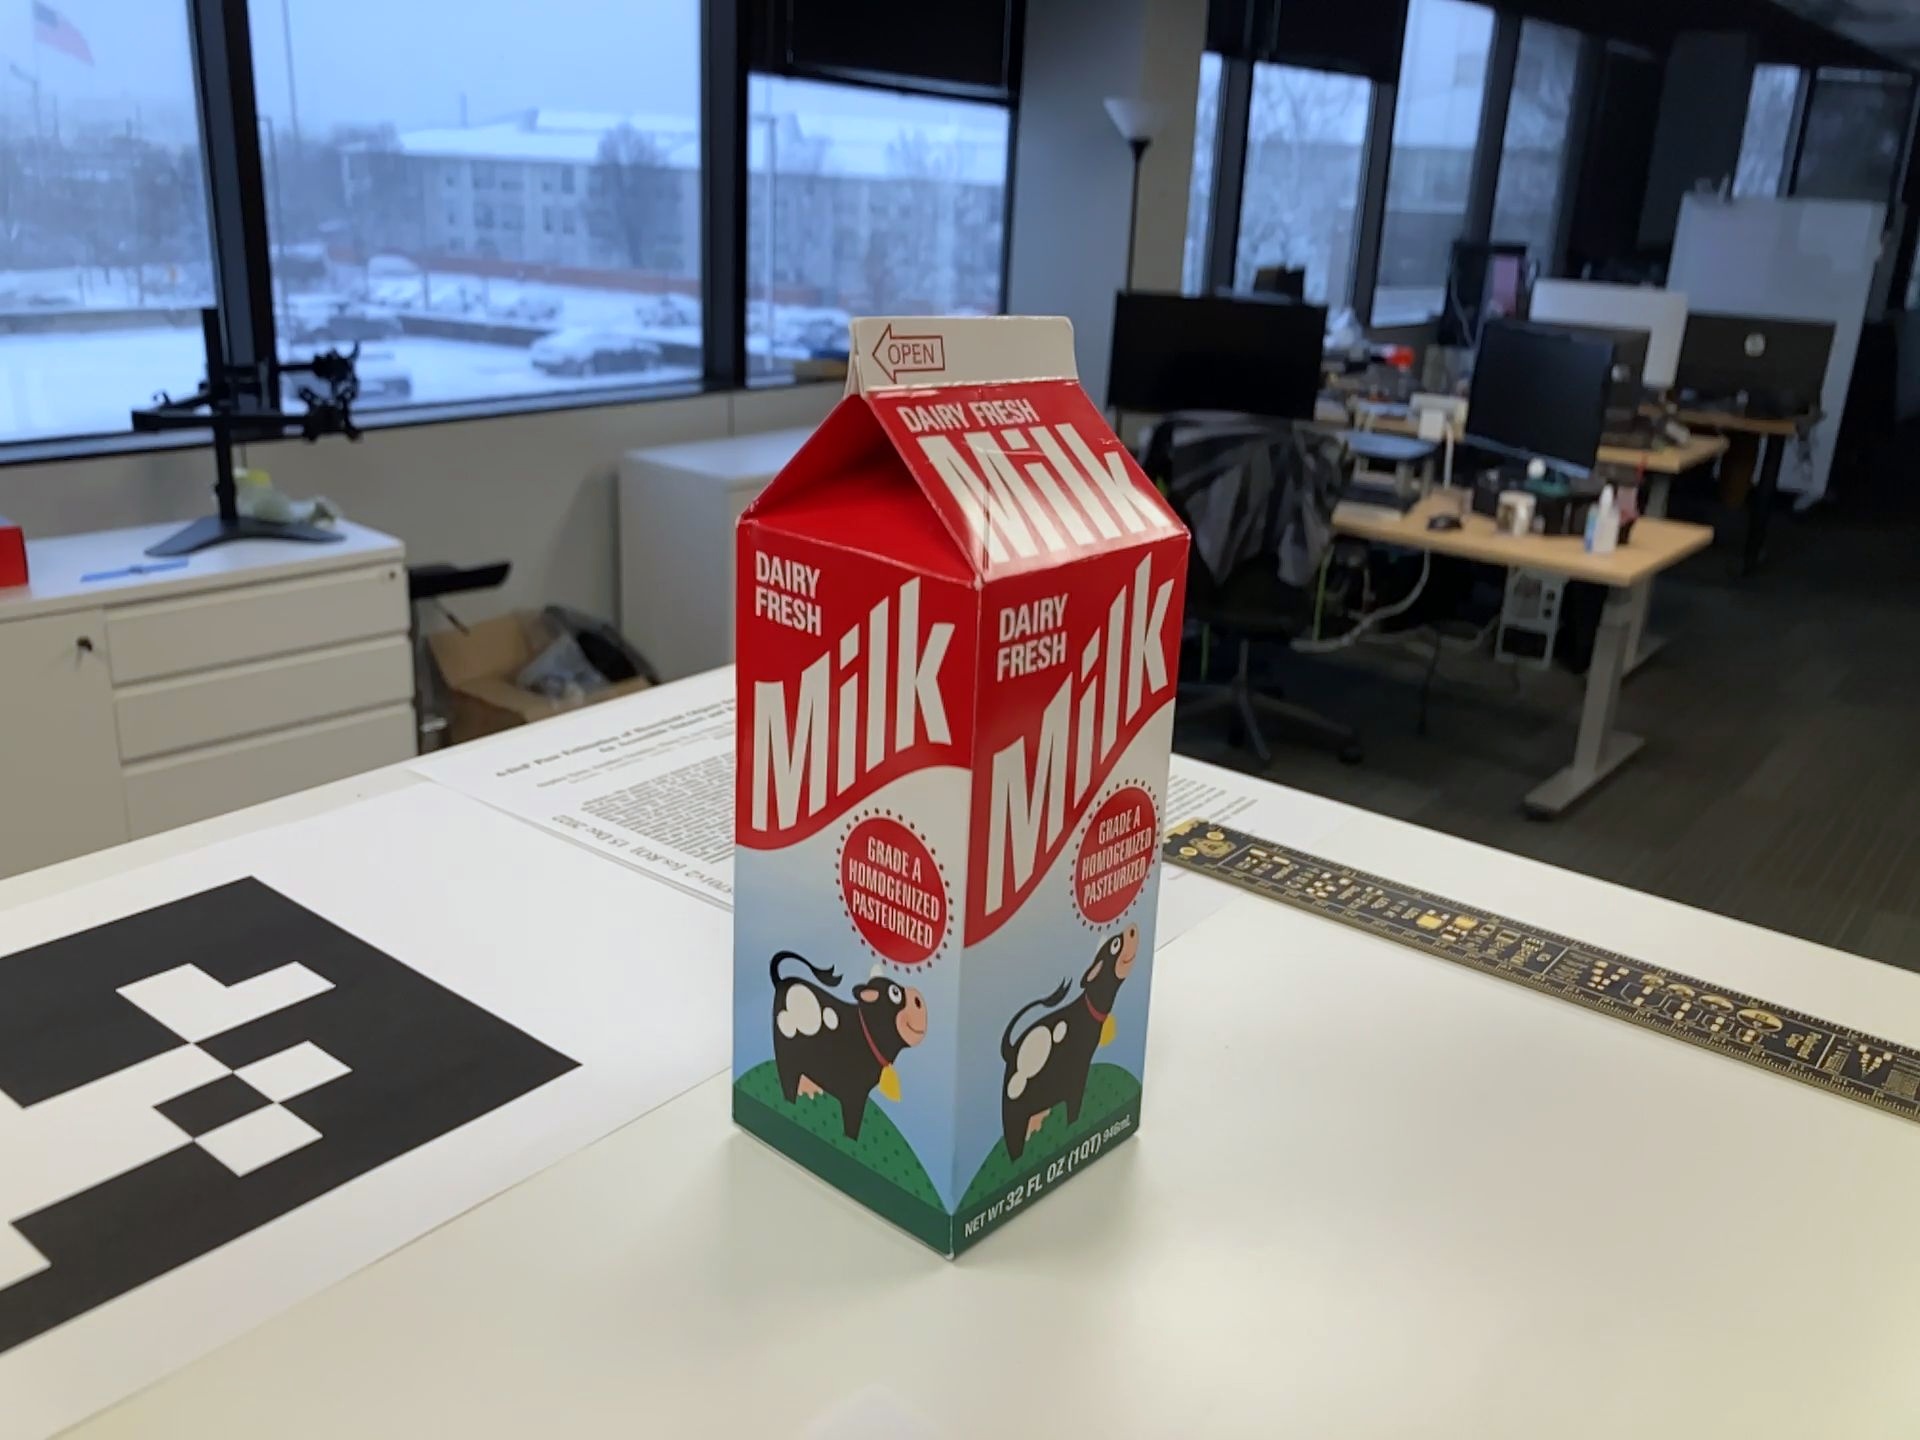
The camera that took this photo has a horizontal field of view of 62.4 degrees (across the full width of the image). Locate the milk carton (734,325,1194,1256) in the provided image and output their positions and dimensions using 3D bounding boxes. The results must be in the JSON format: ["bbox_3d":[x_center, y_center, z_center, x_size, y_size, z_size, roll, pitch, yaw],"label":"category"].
[{"bbox_3d":[-0.001,0.009,0.355,0.073,0.190,0.072,18,23,39],"label":"milk carton"}]
